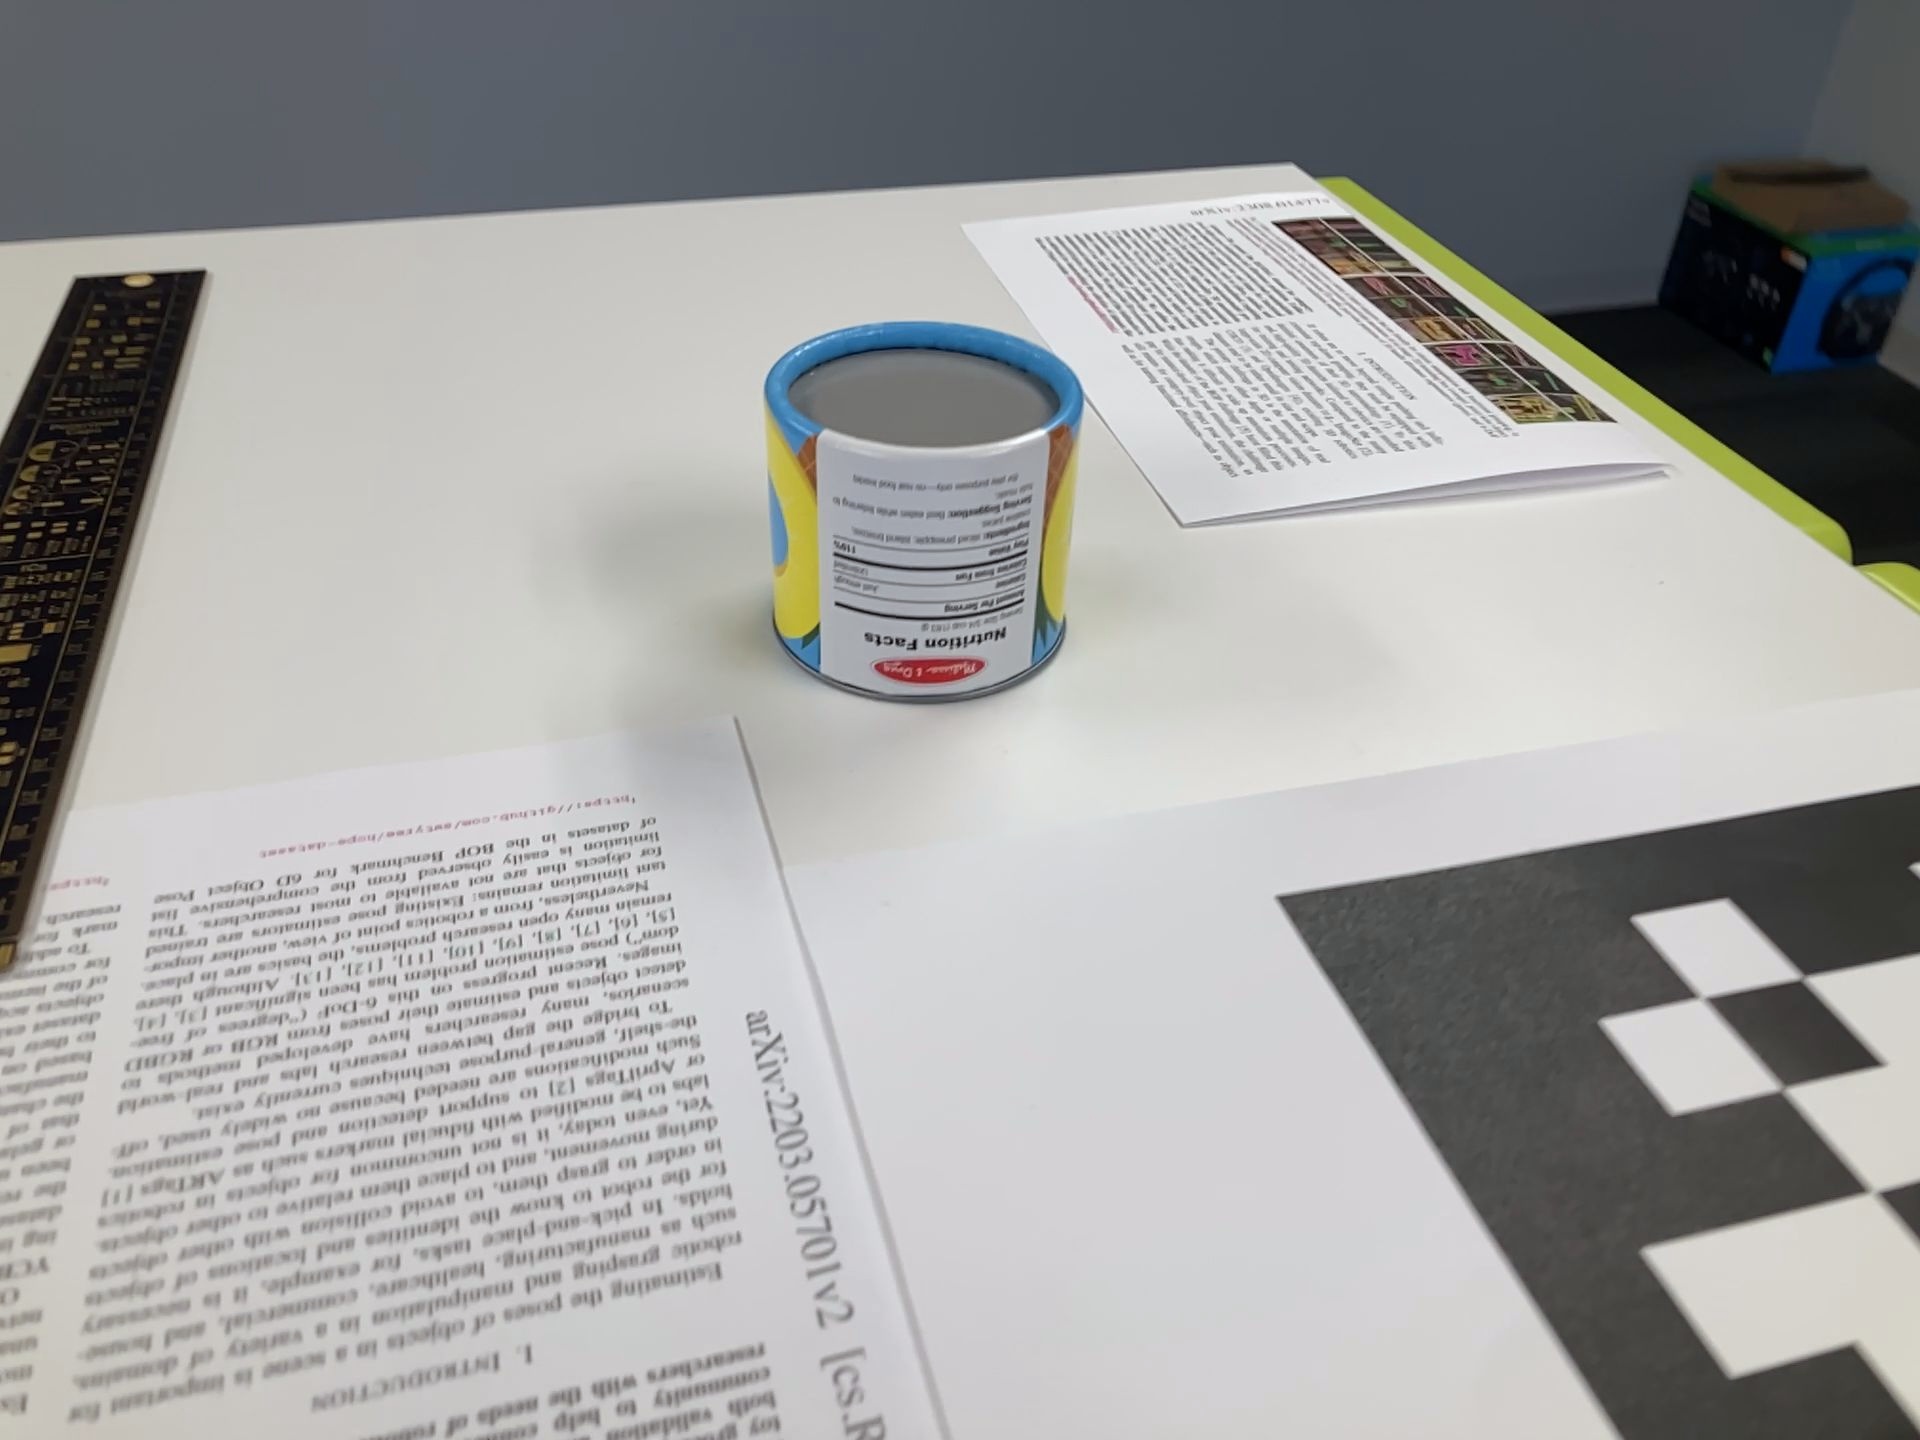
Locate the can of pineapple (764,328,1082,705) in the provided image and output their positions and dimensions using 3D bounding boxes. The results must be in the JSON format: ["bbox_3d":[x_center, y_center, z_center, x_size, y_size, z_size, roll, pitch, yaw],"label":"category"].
[{"bbox_3d":[-0.009,-0.046,0.343,0.071,0.058,0.071,2,36,-1],"label":"can of pineapple"}]
